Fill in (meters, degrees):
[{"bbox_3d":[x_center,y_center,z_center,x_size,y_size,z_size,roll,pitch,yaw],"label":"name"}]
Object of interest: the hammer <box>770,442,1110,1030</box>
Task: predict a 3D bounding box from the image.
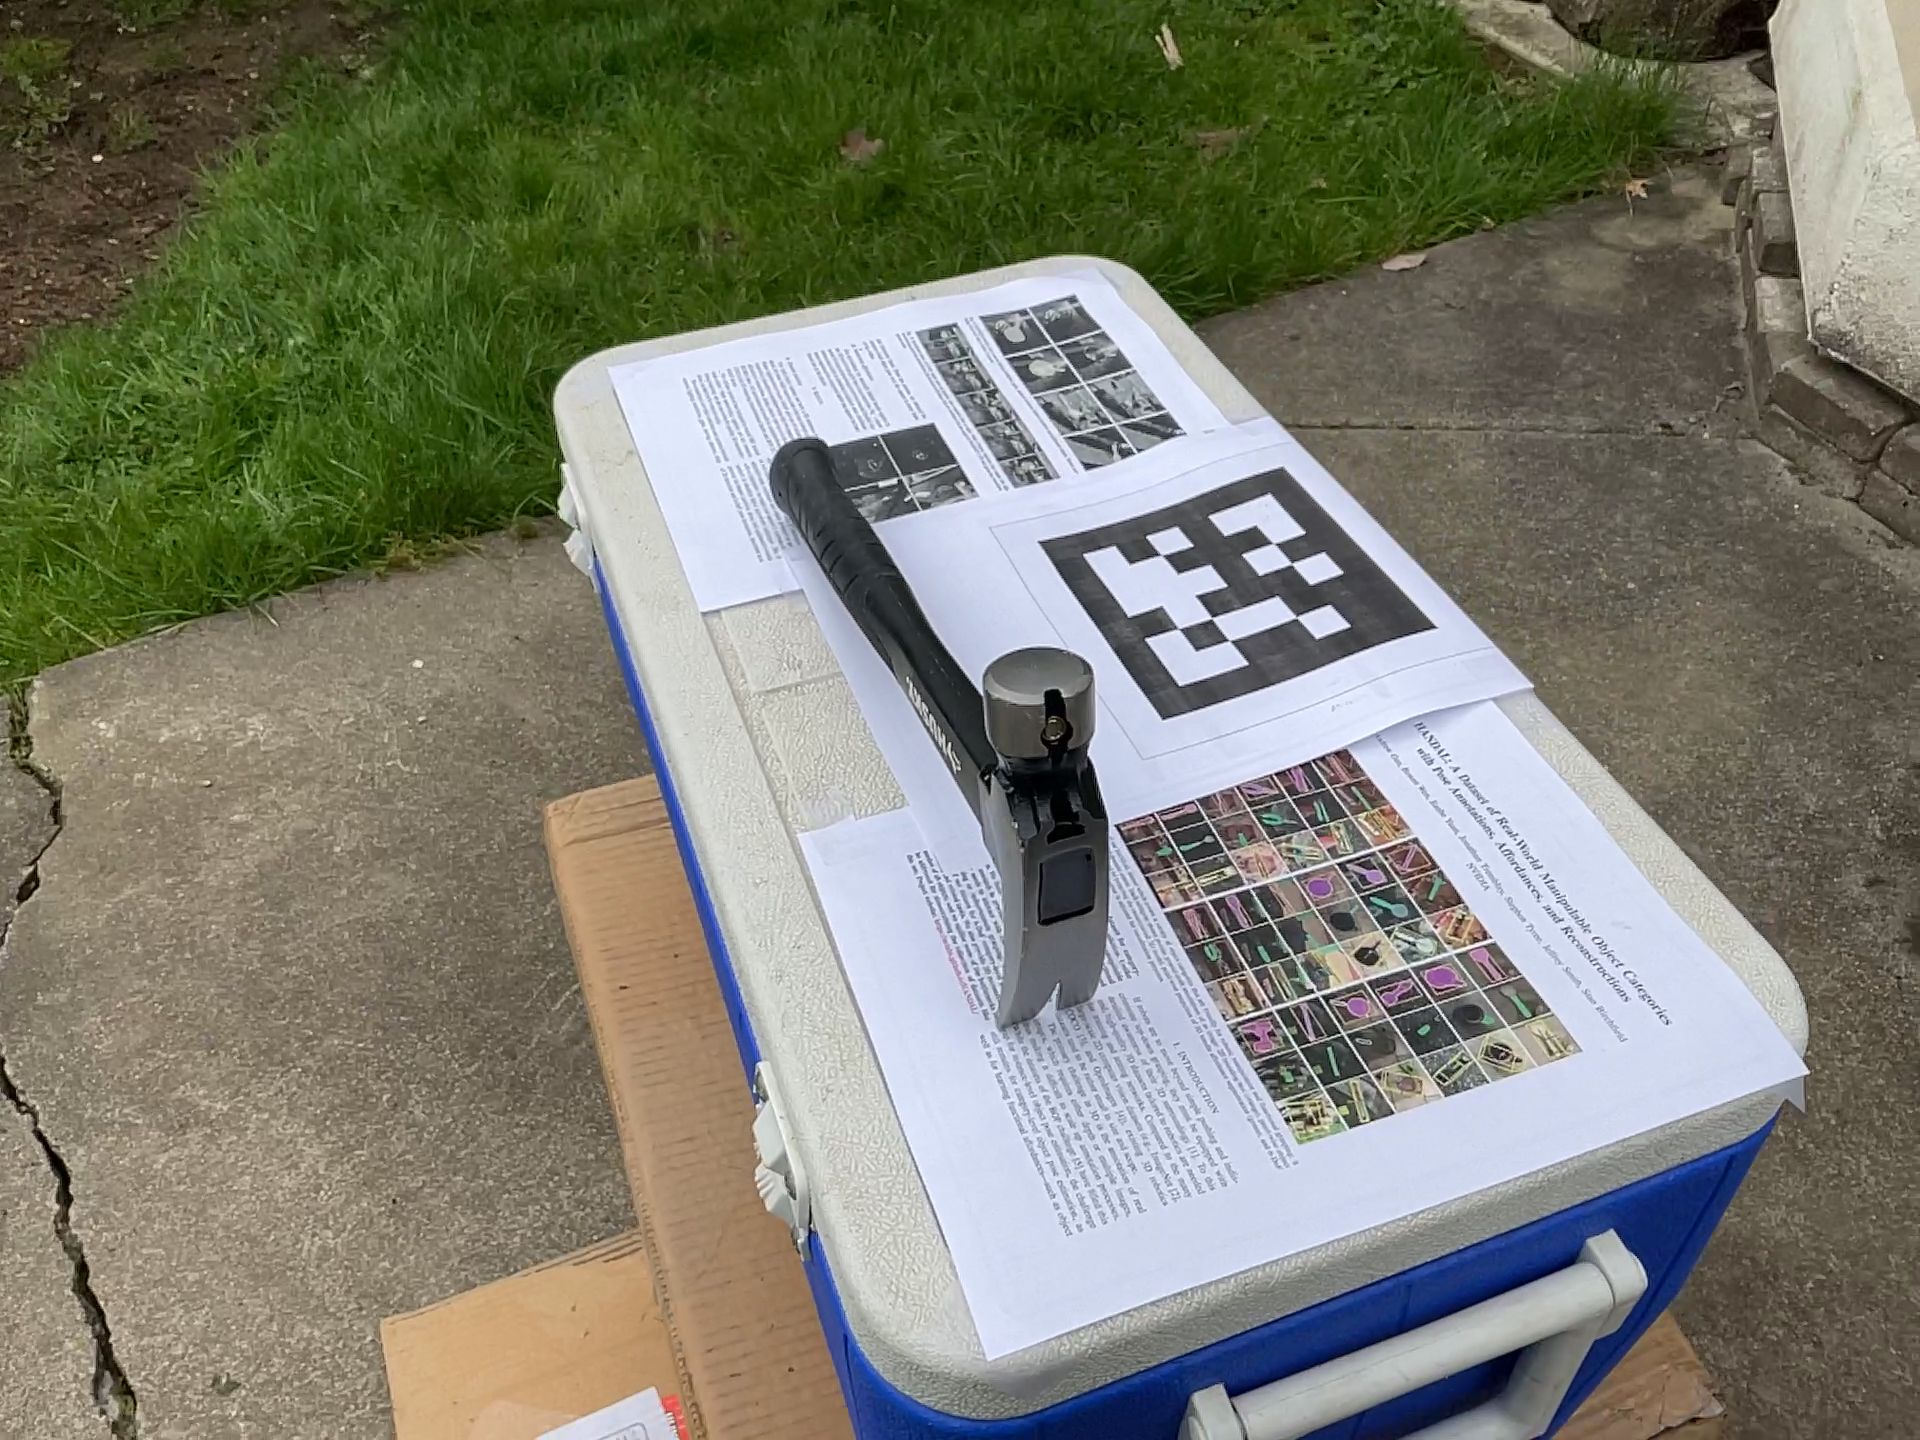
[{"bbox_3d":[-0.021,-0.026,0.616,0.035,0.146,0.335,-14,33,-14],"label":"hammer"}]
